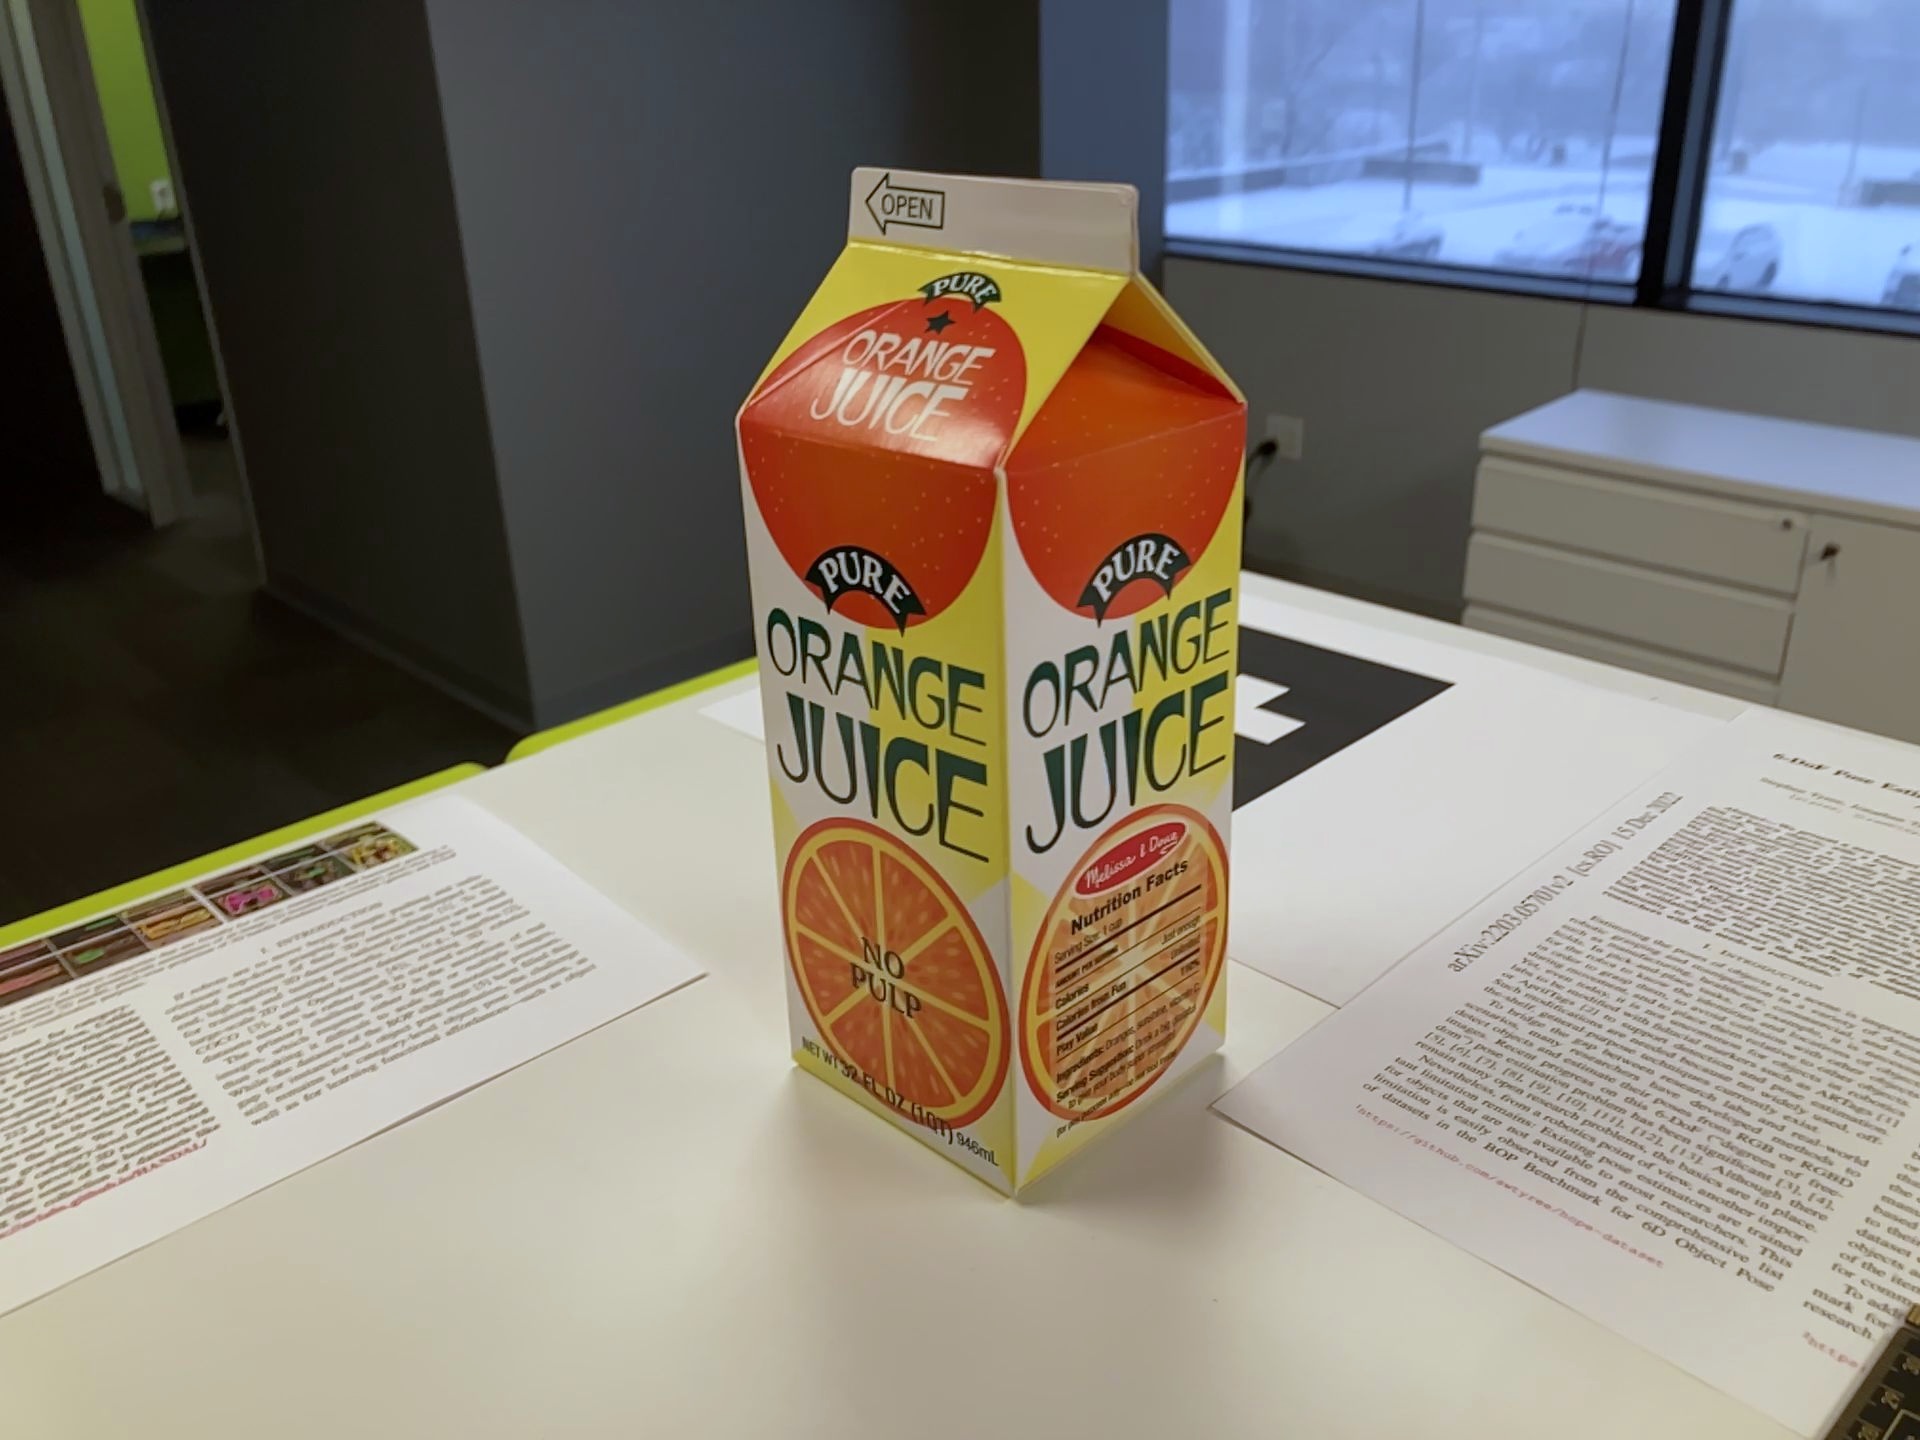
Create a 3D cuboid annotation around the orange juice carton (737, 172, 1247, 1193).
[{"bbox_3d":[0.008,-0.011,0.328,0.073,0.192,0.072,-22,30,-40],"label":"orange juice carton"}]
